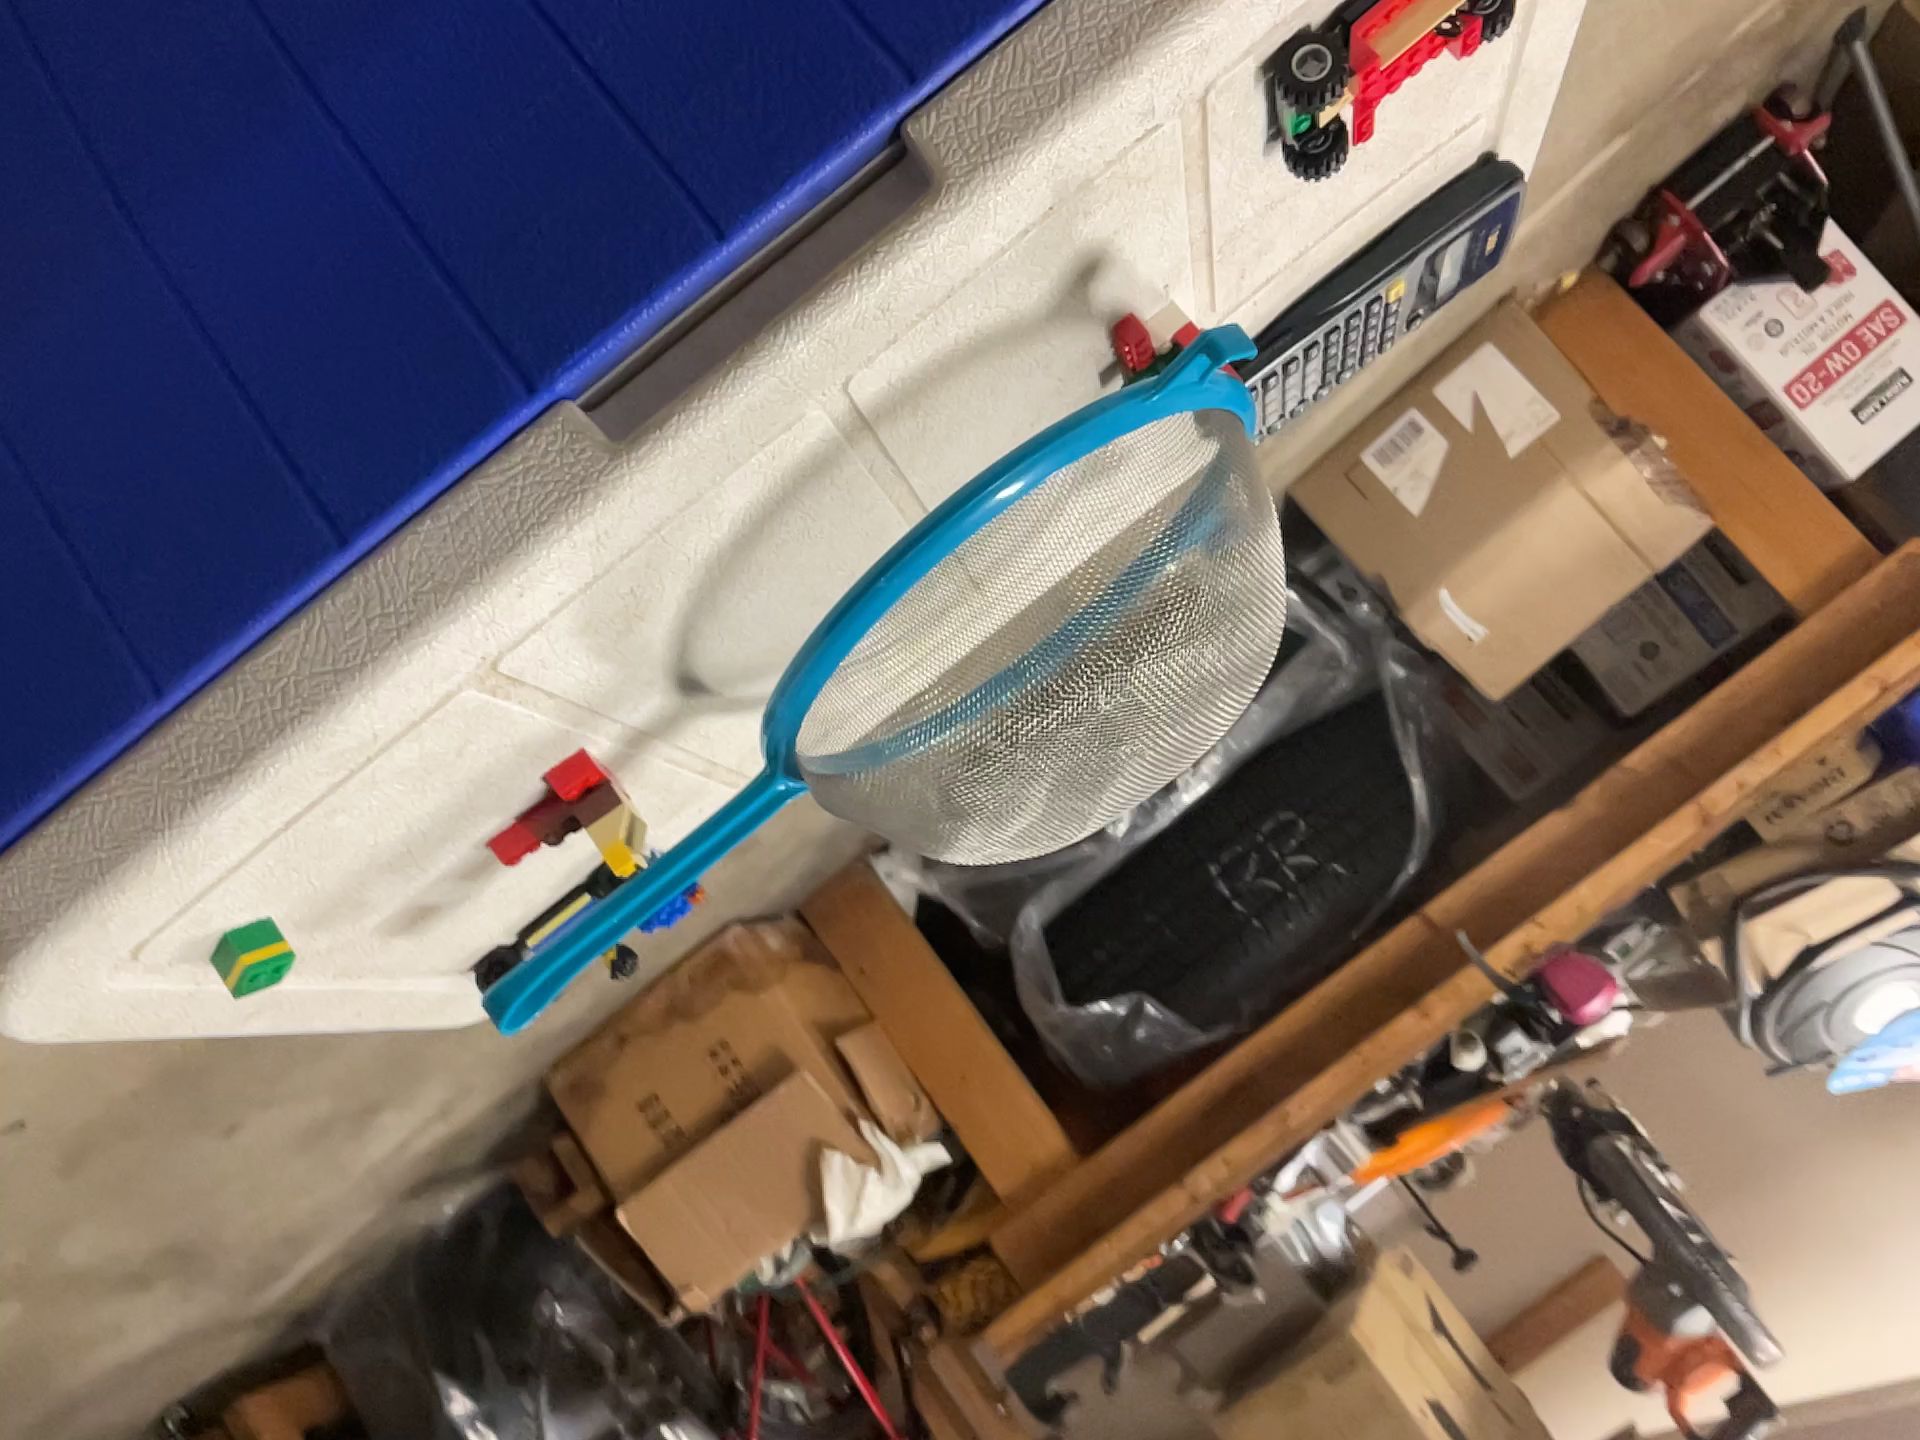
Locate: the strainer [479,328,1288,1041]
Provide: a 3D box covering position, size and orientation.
[{"bbox_3d":[-0.010,0.027,0.549,0.340,0.095,0.211,-39,166,0],"label":"strainer"}]
